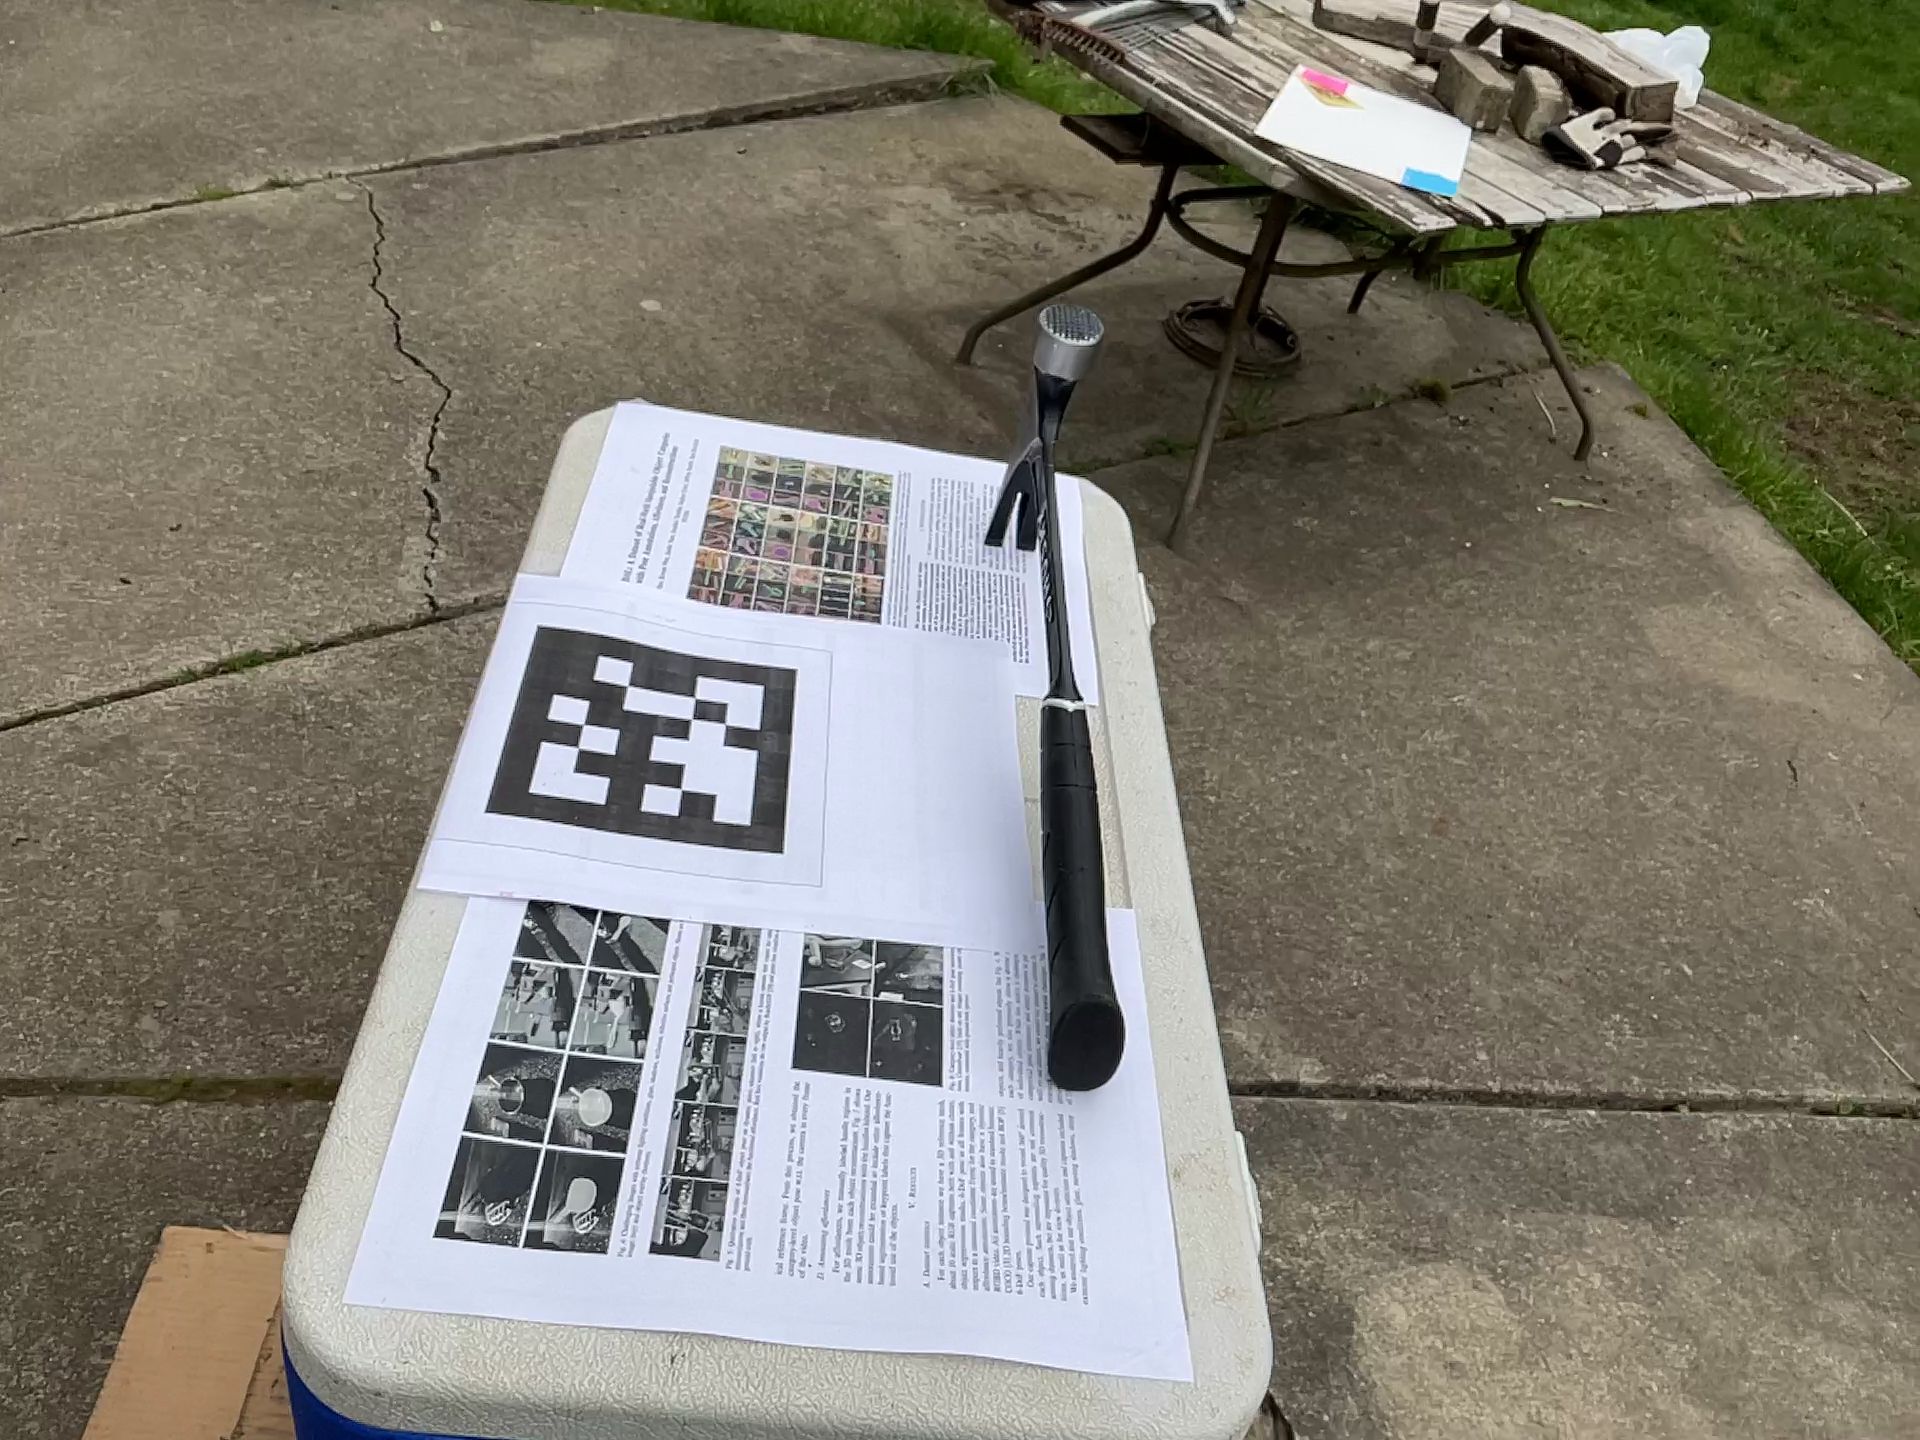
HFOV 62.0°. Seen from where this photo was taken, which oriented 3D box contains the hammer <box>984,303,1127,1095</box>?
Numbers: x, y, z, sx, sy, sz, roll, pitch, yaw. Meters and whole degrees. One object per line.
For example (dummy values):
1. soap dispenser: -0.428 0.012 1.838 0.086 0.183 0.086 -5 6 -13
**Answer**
1. hammer: 0.045 -0.016 0.754 0.036 0.149 0.409 7 49 -9
